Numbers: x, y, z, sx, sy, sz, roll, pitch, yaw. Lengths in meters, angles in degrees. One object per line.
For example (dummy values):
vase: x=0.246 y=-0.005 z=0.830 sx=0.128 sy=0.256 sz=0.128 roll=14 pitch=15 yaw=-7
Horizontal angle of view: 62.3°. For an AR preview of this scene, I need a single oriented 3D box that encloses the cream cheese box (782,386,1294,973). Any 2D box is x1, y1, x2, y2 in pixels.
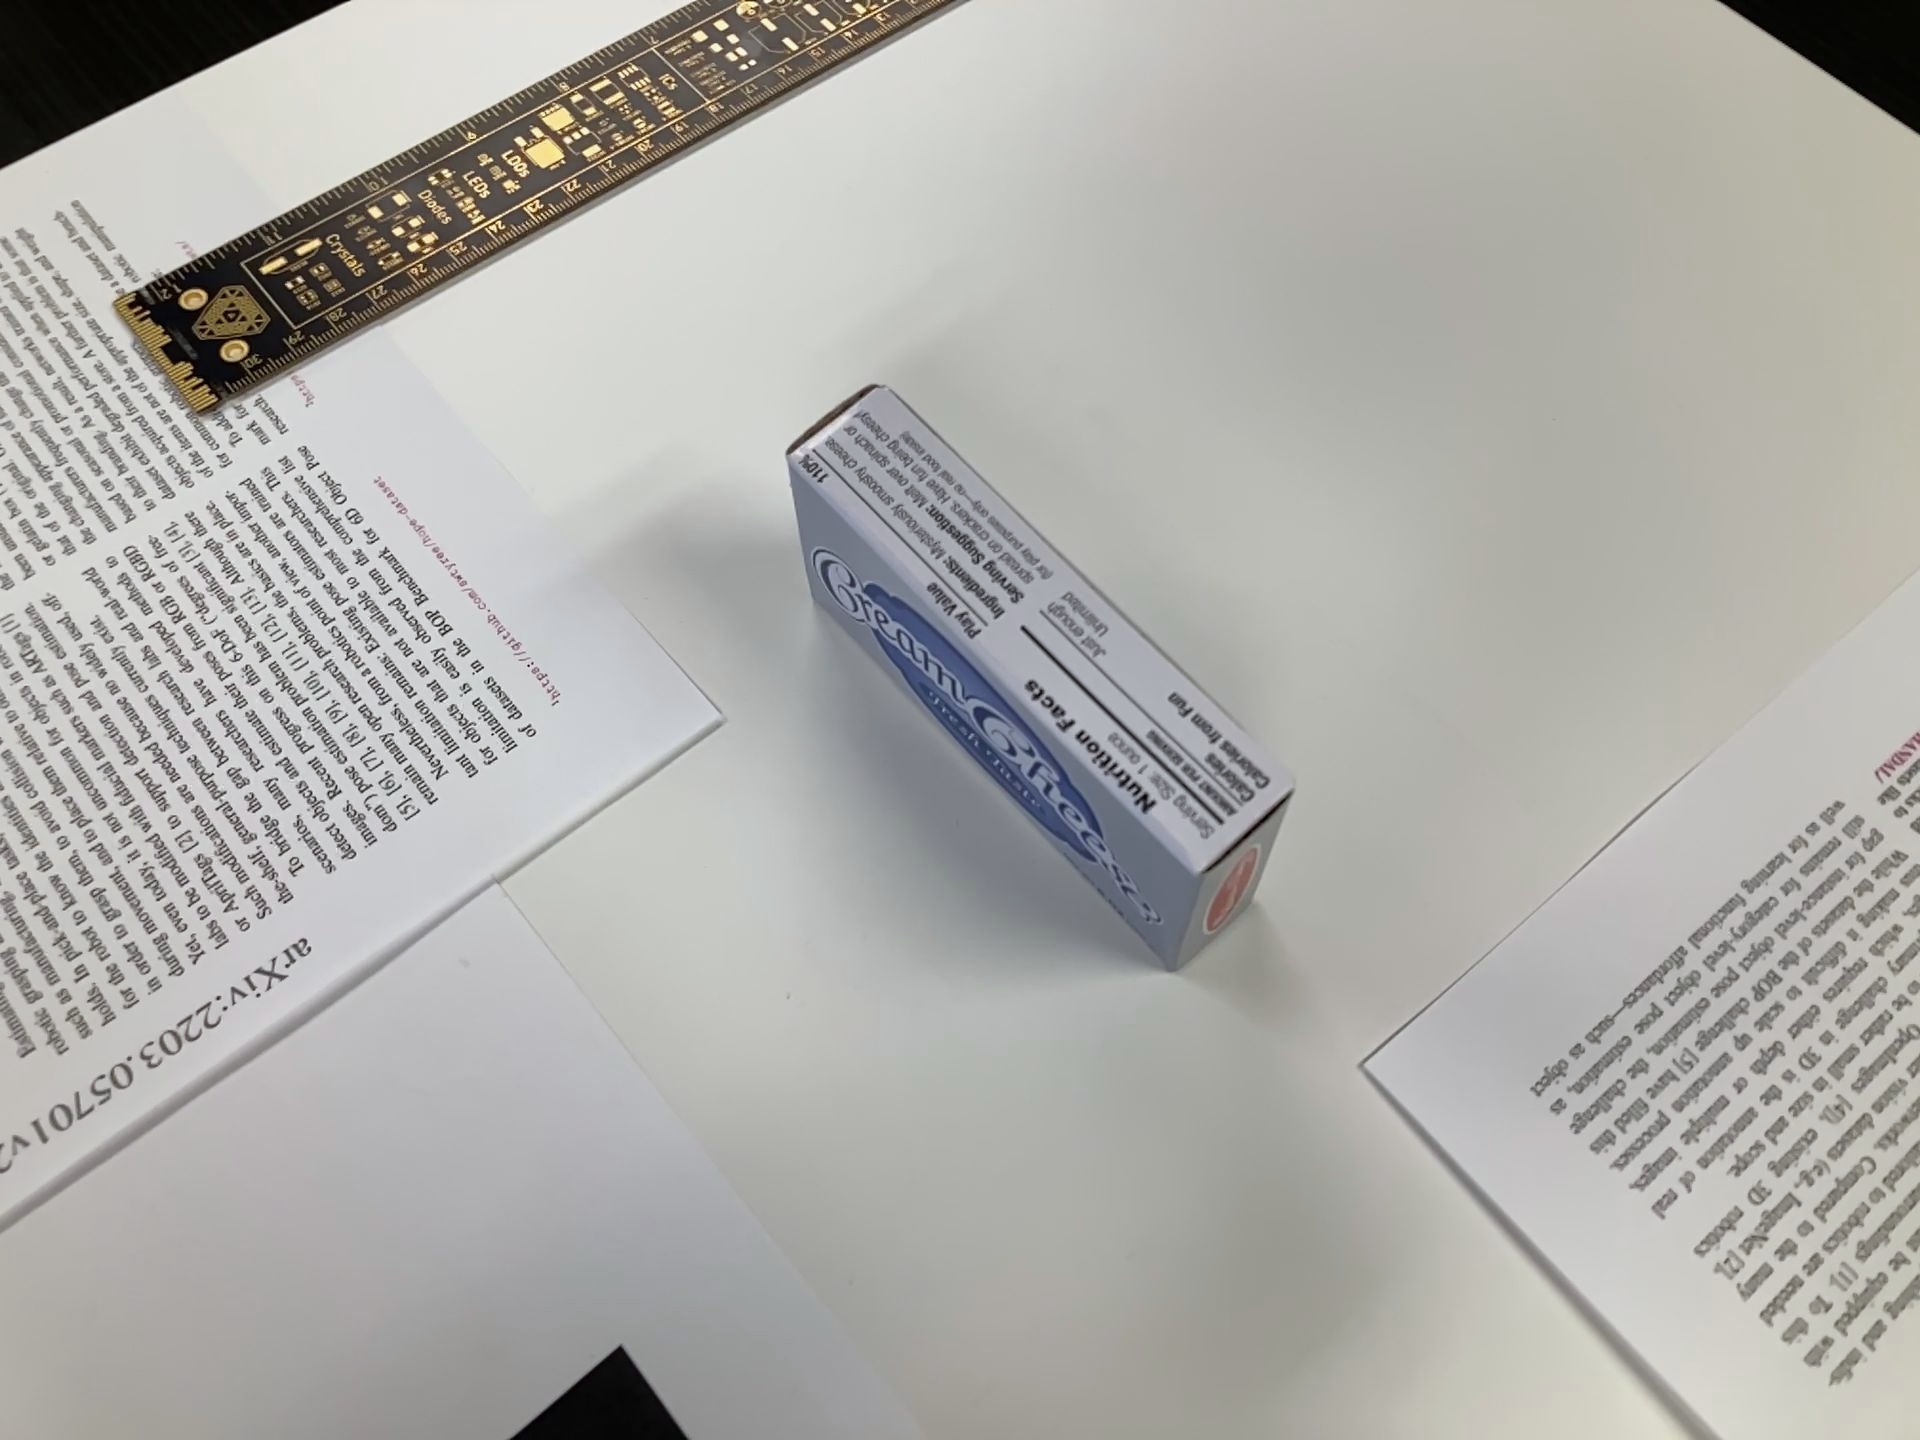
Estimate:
cream cheese box: x=0.011 y=-0.007 z=0.277 sx=0.024 sy=0.053 sz=0.104 roll=-38 pitch=69 yaw=-16
